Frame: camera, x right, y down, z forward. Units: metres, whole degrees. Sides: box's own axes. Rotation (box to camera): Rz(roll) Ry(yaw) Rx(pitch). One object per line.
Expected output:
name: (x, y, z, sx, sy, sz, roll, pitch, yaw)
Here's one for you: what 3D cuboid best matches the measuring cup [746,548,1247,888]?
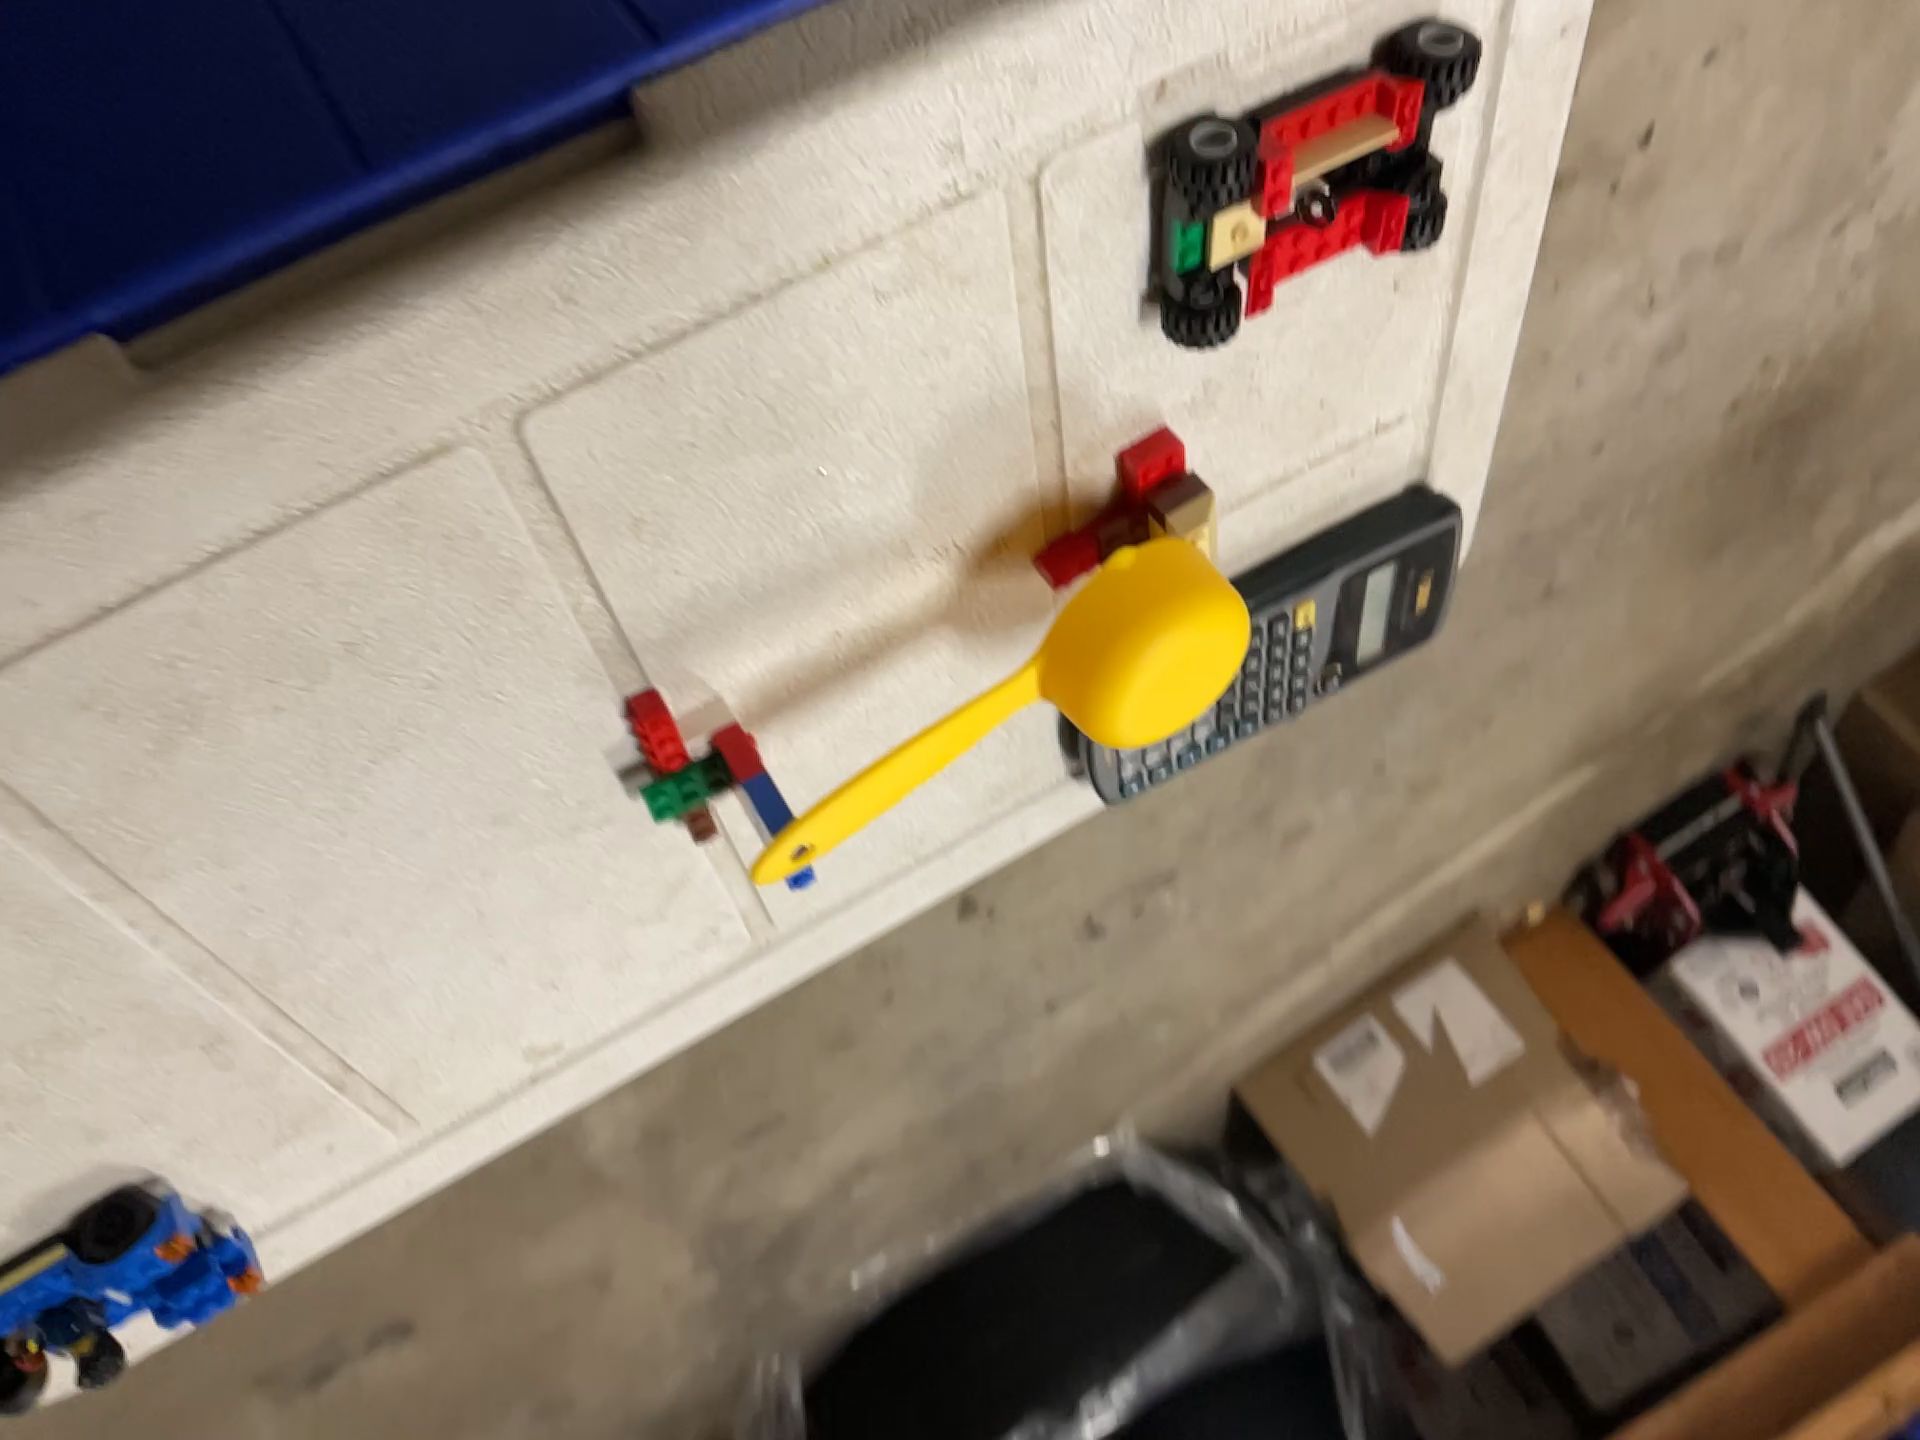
measuring cup: (0.014, 0.008, 0.437, 0.156, 0.029, 0.062, -33, 149, -14)
